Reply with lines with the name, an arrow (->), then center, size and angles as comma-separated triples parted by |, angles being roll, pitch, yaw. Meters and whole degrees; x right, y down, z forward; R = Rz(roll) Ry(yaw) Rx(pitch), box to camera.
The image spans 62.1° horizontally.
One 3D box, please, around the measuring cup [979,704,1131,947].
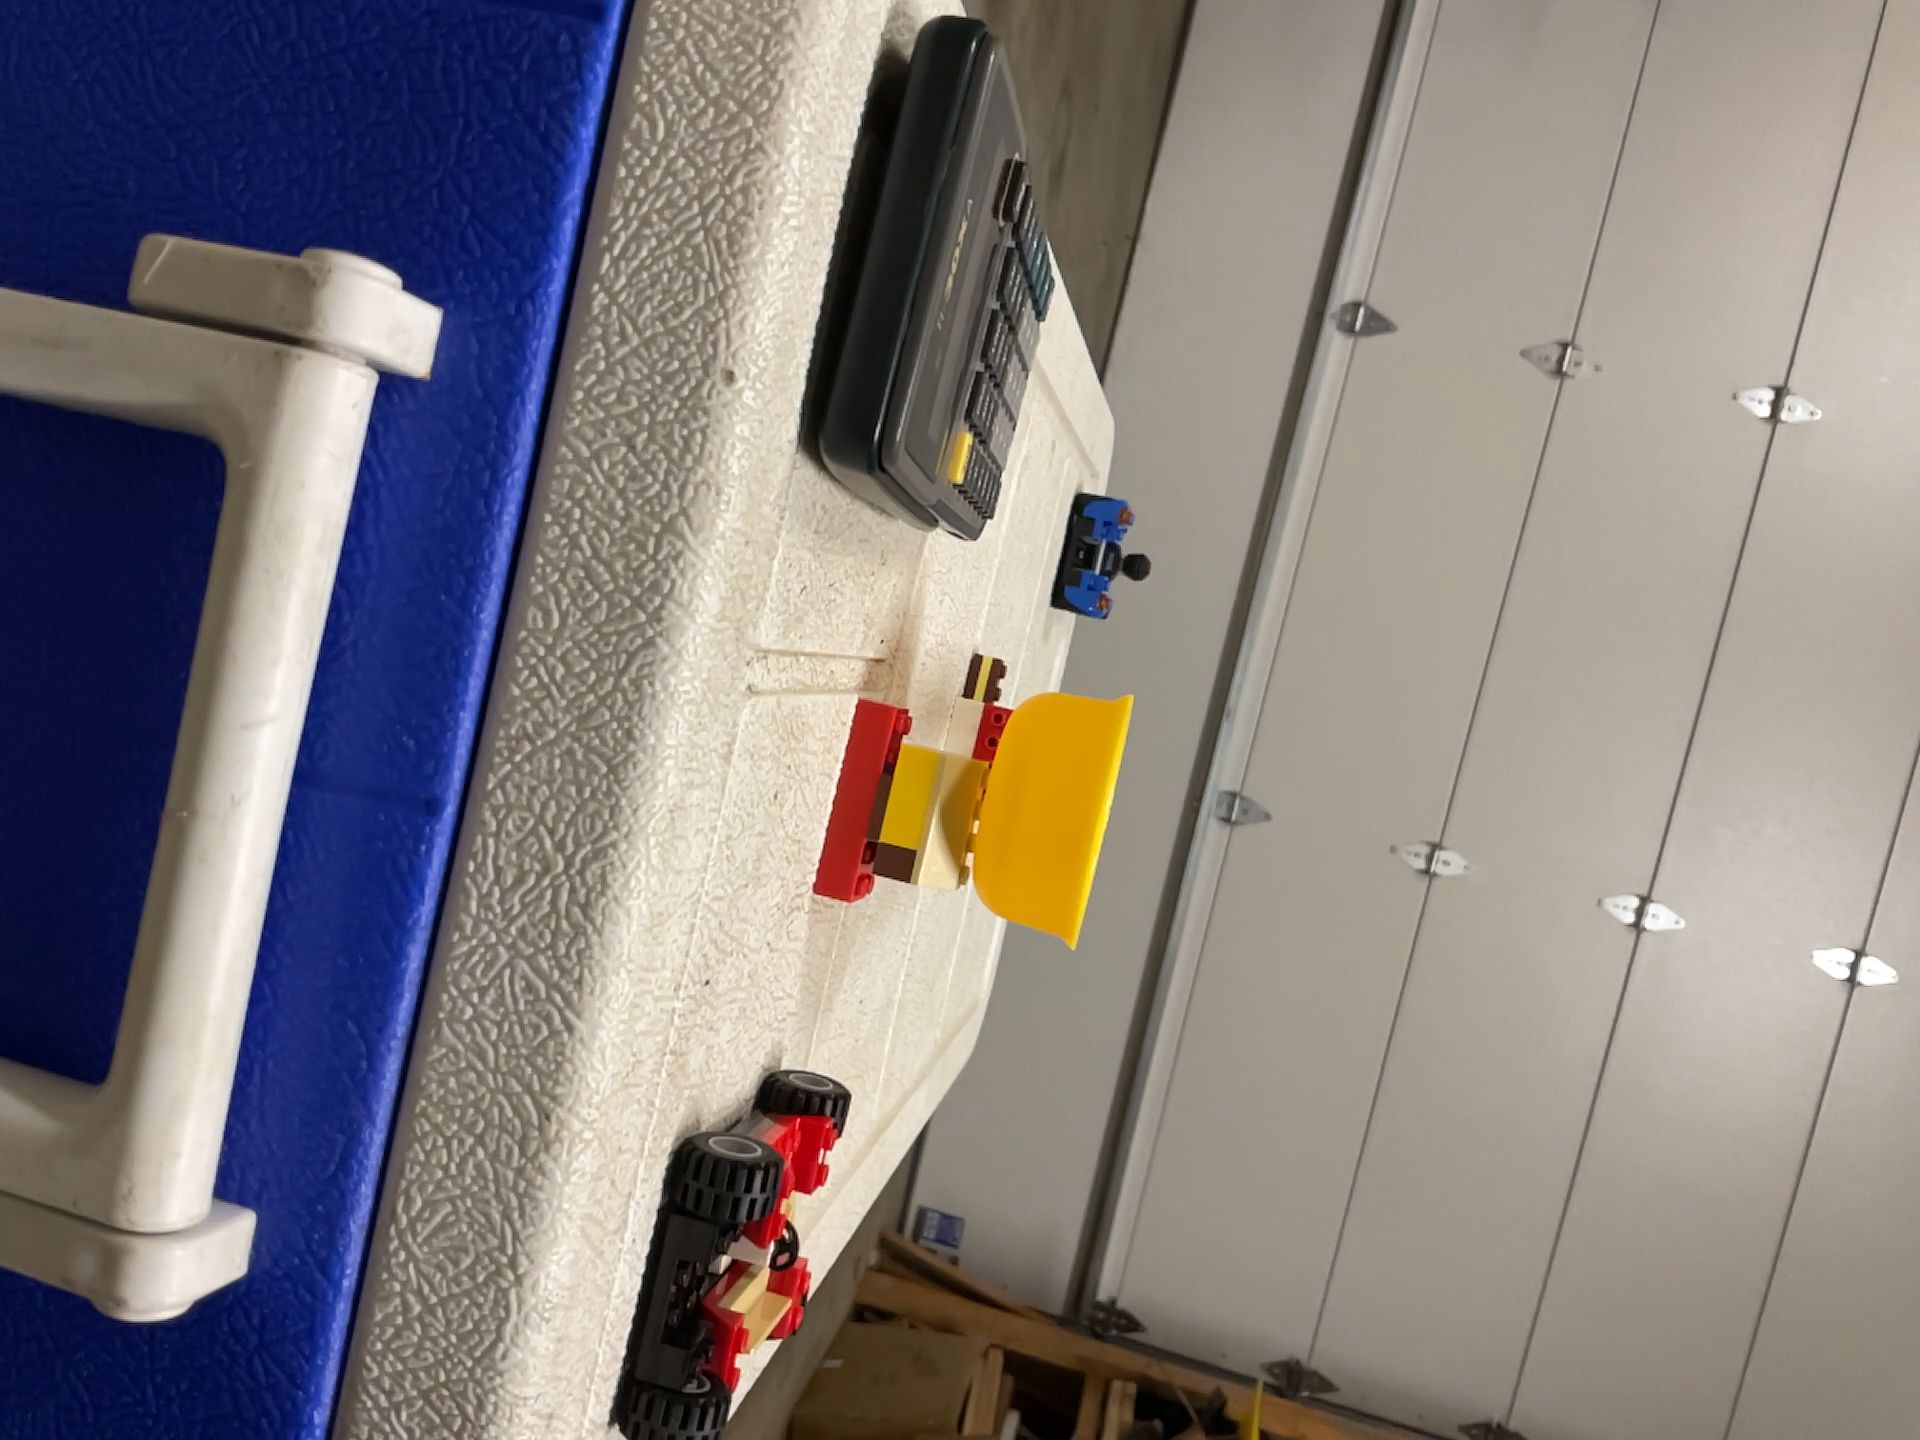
measuring cup -> 0.027, 0.022, 0.449 | 0.156, 0.029, 0.062 | -23, 126, -84
